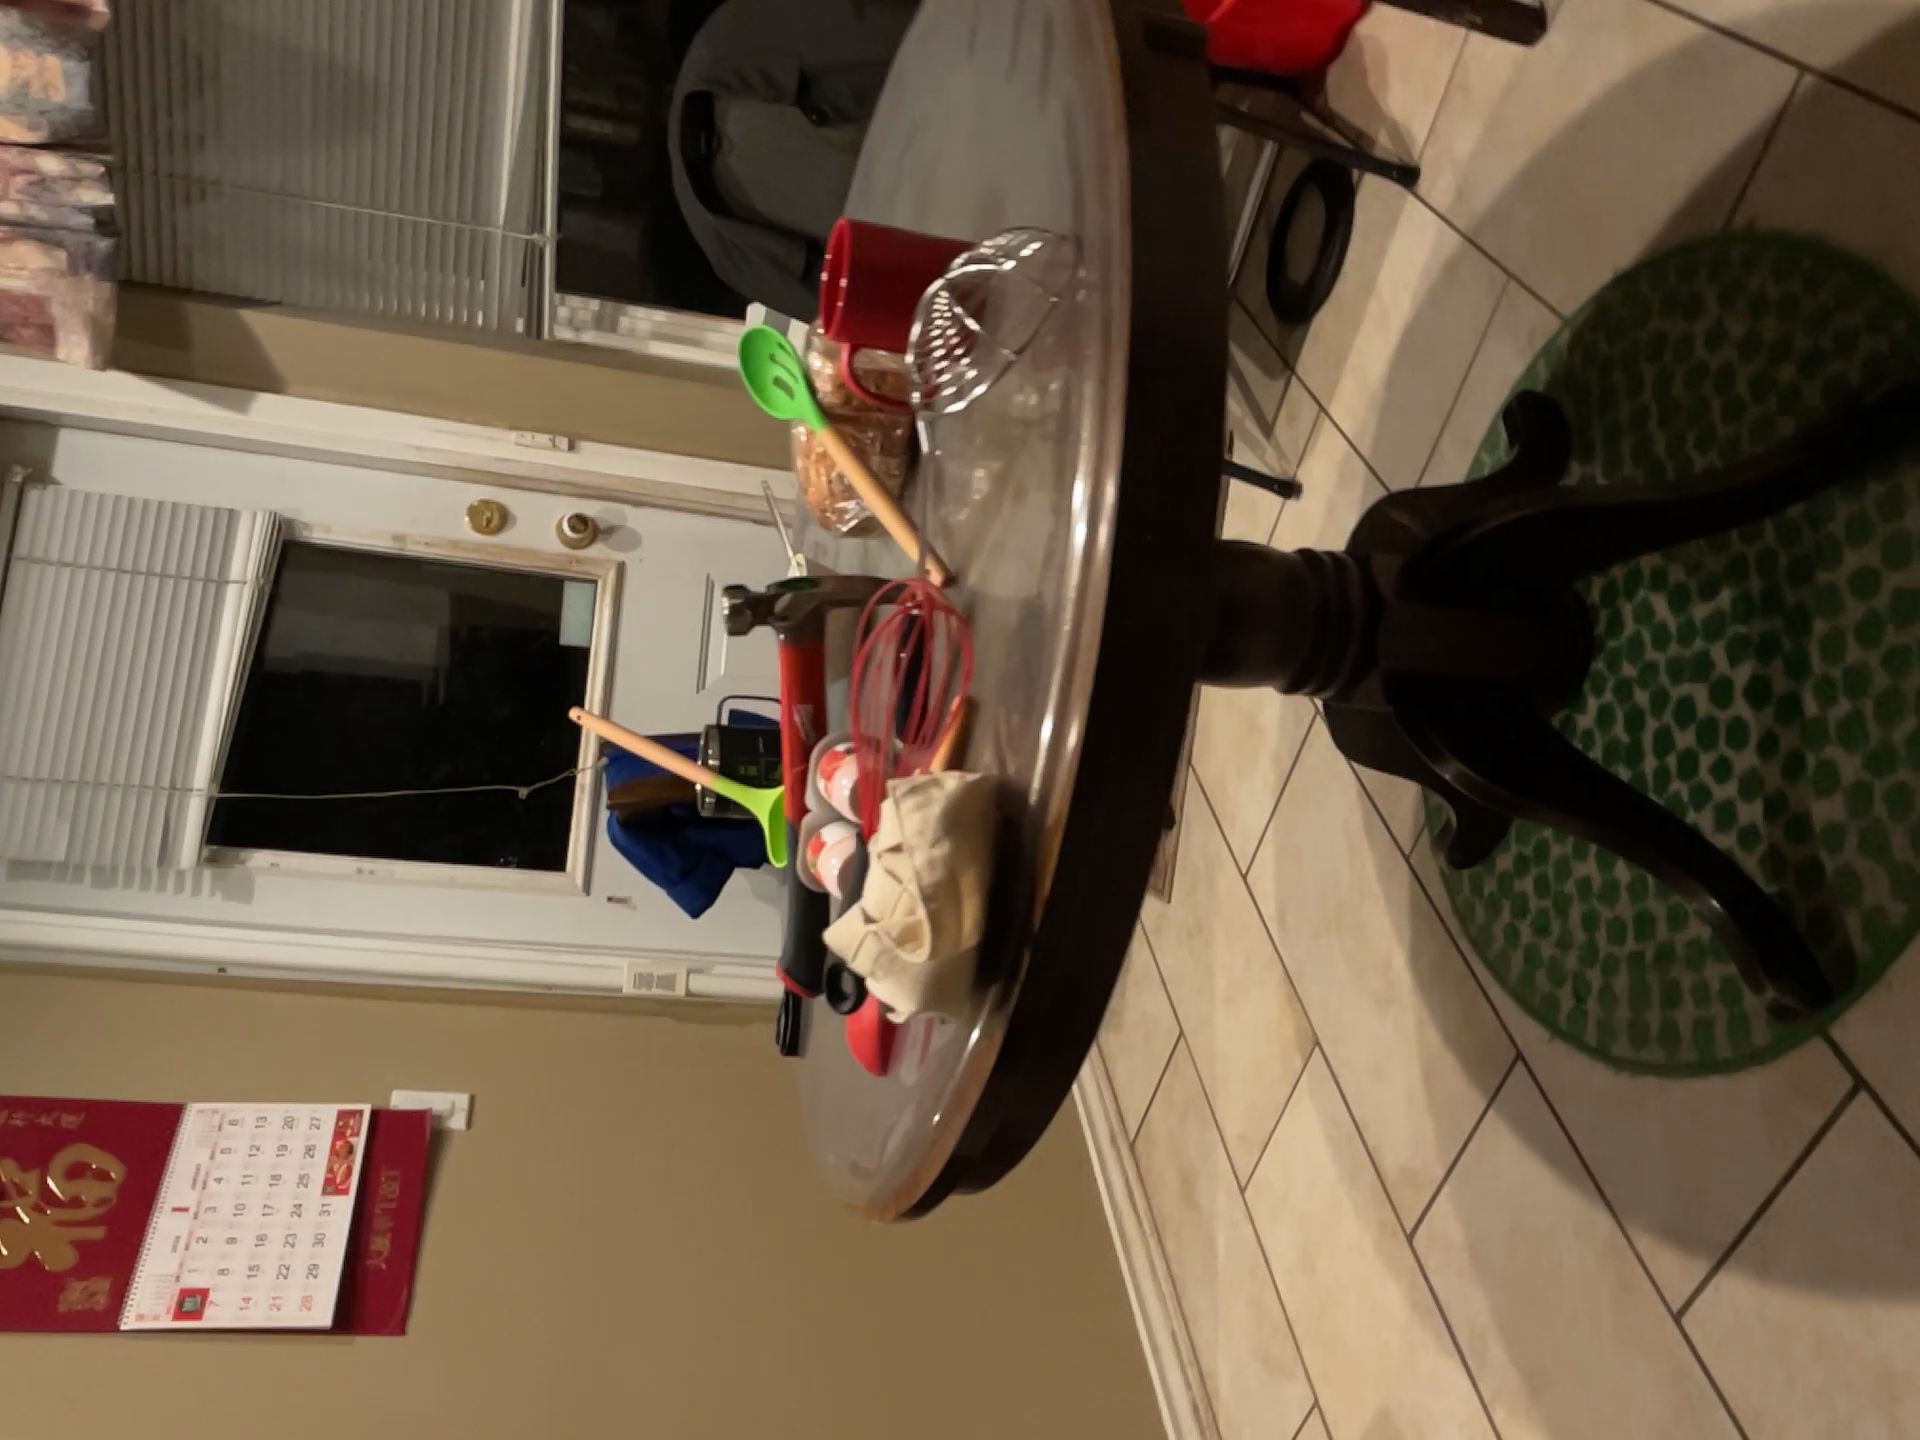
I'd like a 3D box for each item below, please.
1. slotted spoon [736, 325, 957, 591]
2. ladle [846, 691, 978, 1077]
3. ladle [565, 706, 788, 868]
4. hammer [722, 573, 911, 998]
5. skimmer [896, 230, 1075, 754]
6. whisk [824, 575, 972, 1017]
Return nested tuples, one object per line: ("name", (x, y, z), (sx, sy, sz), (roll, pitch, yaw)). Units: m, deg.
("slotted spoon", (-0.084, -0.192, 1.150), (0.314, 0.031, 0.070), (53, 145, 35))
("ladle", (-0.034, 0.115, 1.059), (0.069, 0.031, 0.315), (-109, 31, -55))
("ladle", (-0.253, 0.049, 1.458), (0.062, 0.320, 0.078), (2, -71, -63))
("hammer", (-0.103, 0.062, 1.237), (0.038, 0.143, 0.386), (-106, 14, -55))
("skimmer", (0.008, -0.122, 0.982), (0.127, 0.090, 0.363), (-91, 4, -51))
("whisk", (-0.045, 0.053, 0.934), (0.073, 0.073, 0.295), (-116, 34, -60))
